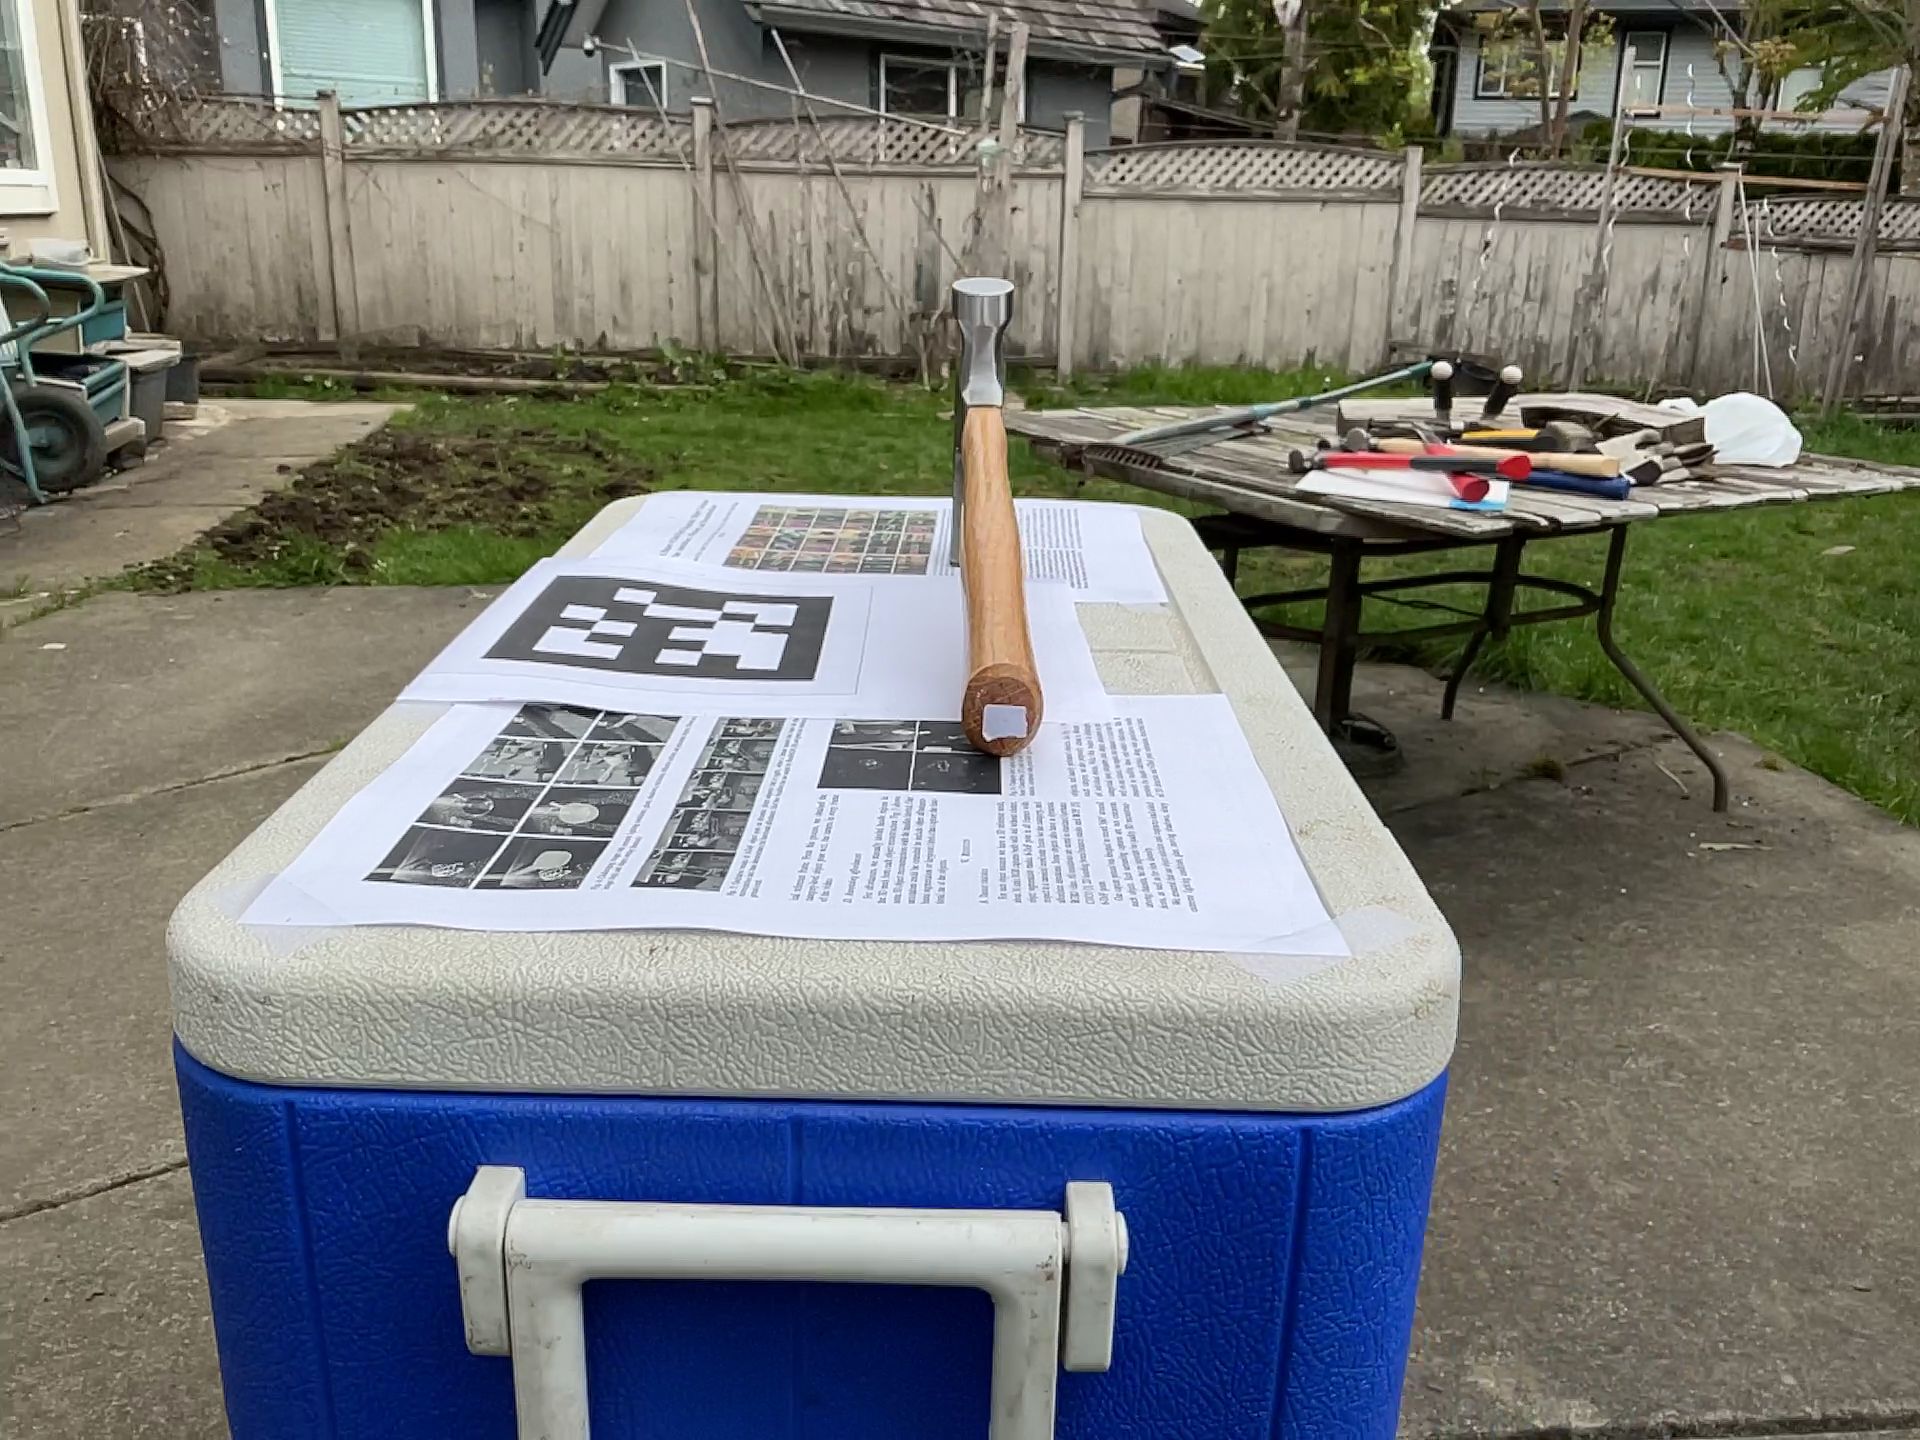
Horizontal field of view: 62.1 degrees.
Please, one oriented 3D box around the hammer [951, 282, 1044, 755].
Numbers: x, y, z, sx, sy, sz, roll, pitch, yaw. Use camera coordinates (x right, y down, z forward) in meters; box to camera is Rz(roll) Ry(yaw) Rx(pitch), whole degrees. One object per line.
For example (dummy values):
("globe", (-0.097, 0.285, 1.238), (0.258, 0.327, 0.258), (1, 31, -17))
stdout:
("hammer", (0.012, -0.081, 0.682), (0.031, 0.130, 0.331), (0, 30, -1))
